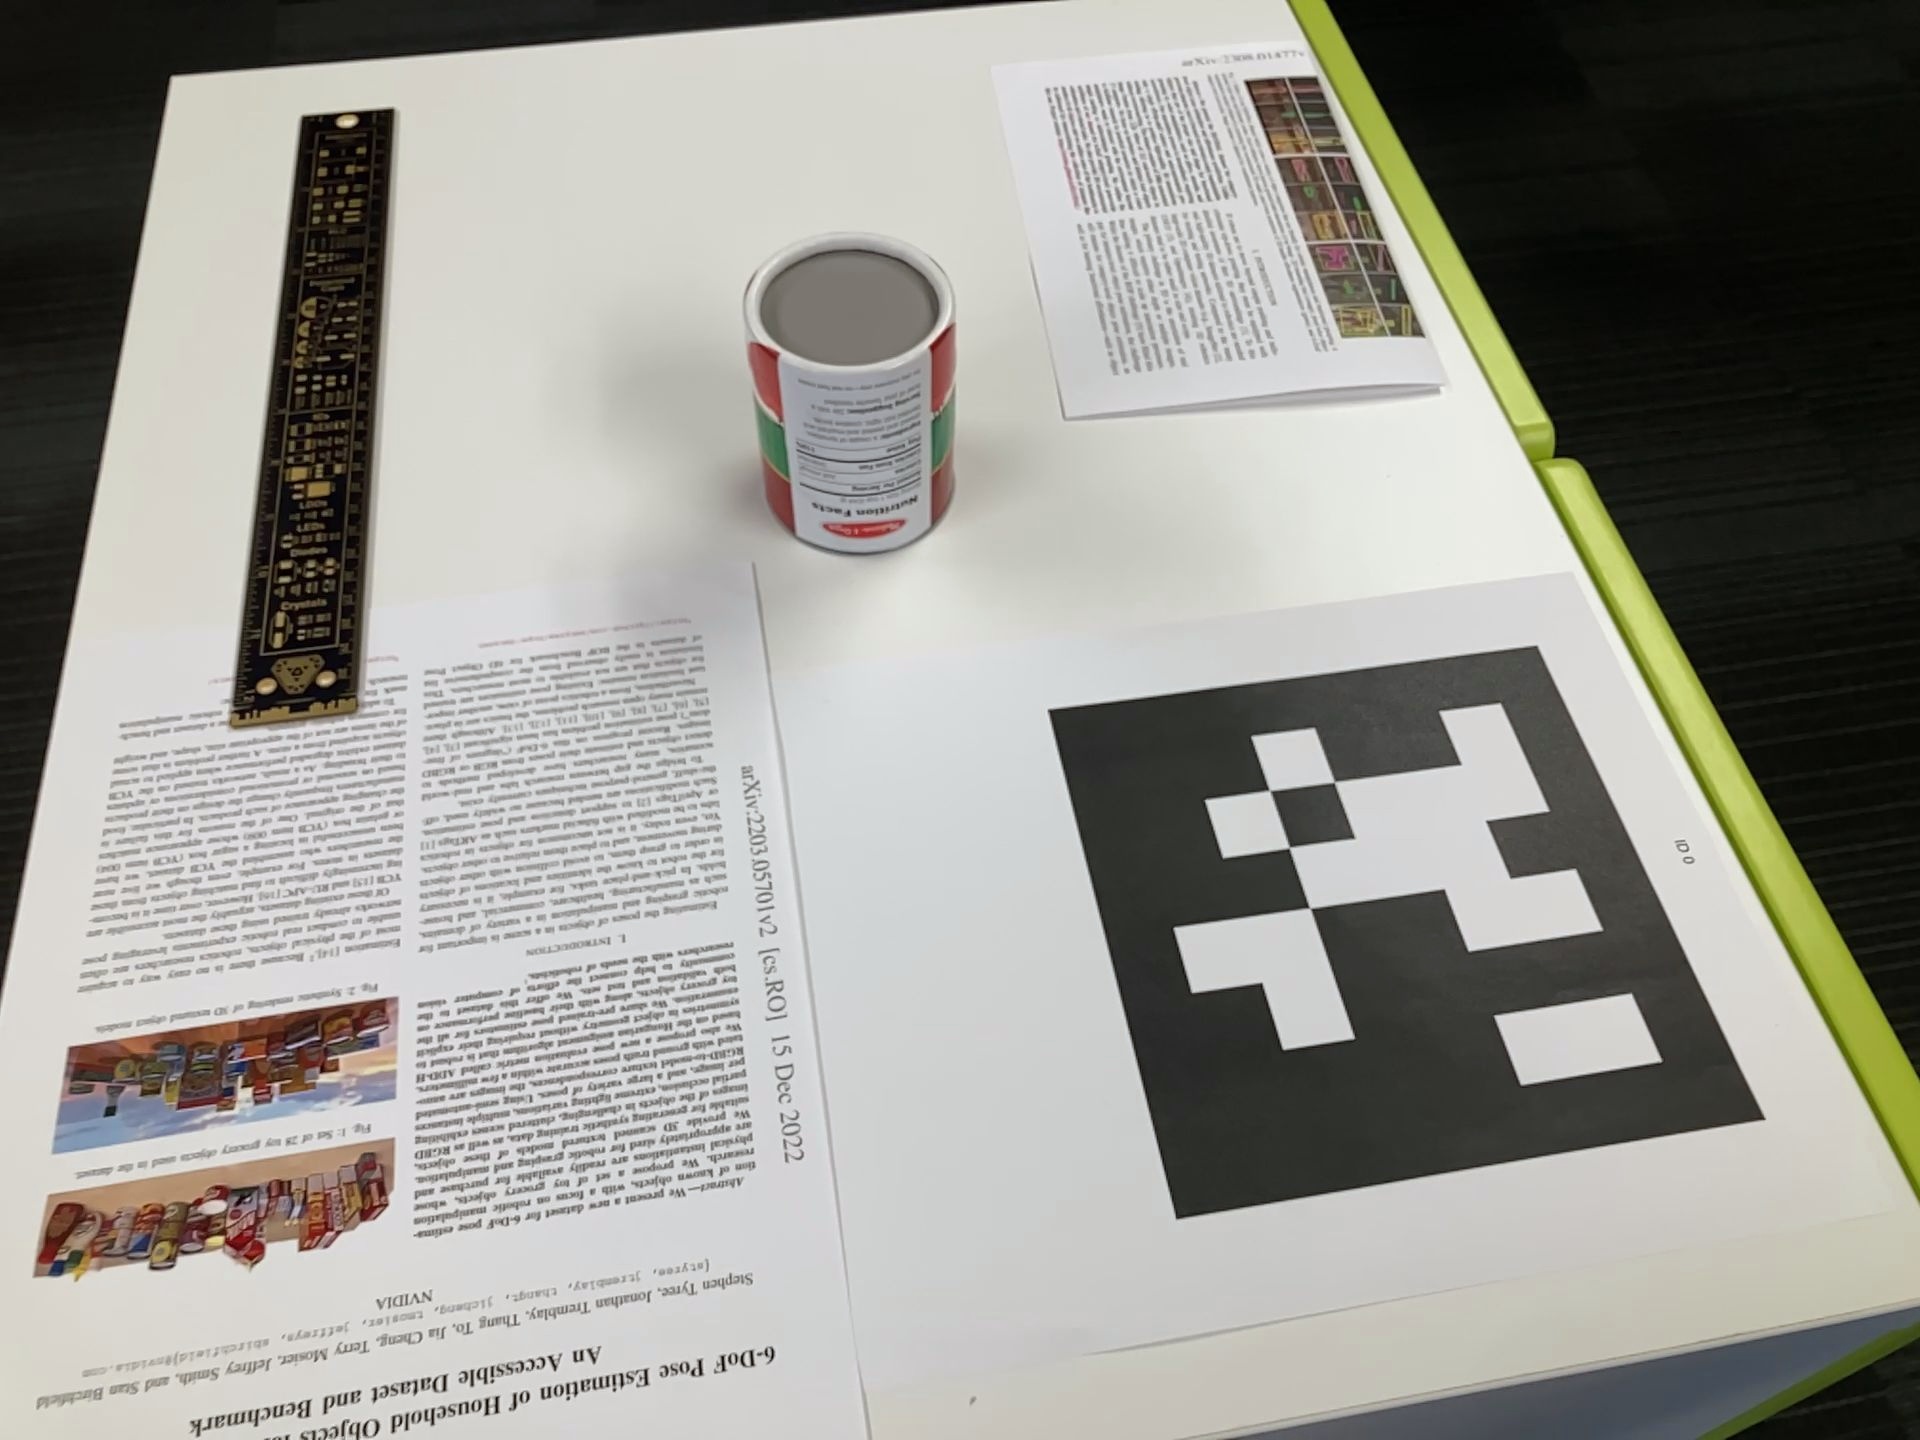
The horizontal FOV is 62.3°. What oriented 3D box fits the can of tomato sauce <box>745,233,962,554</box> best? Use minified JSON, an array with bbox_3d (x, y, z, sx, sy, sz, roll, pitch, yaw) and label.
[{"bbox_3d":[-0.034,-0.109,0.527,0.071,0.083,0.071,-1,55,1],"label":"can of tomato sauce"}]
